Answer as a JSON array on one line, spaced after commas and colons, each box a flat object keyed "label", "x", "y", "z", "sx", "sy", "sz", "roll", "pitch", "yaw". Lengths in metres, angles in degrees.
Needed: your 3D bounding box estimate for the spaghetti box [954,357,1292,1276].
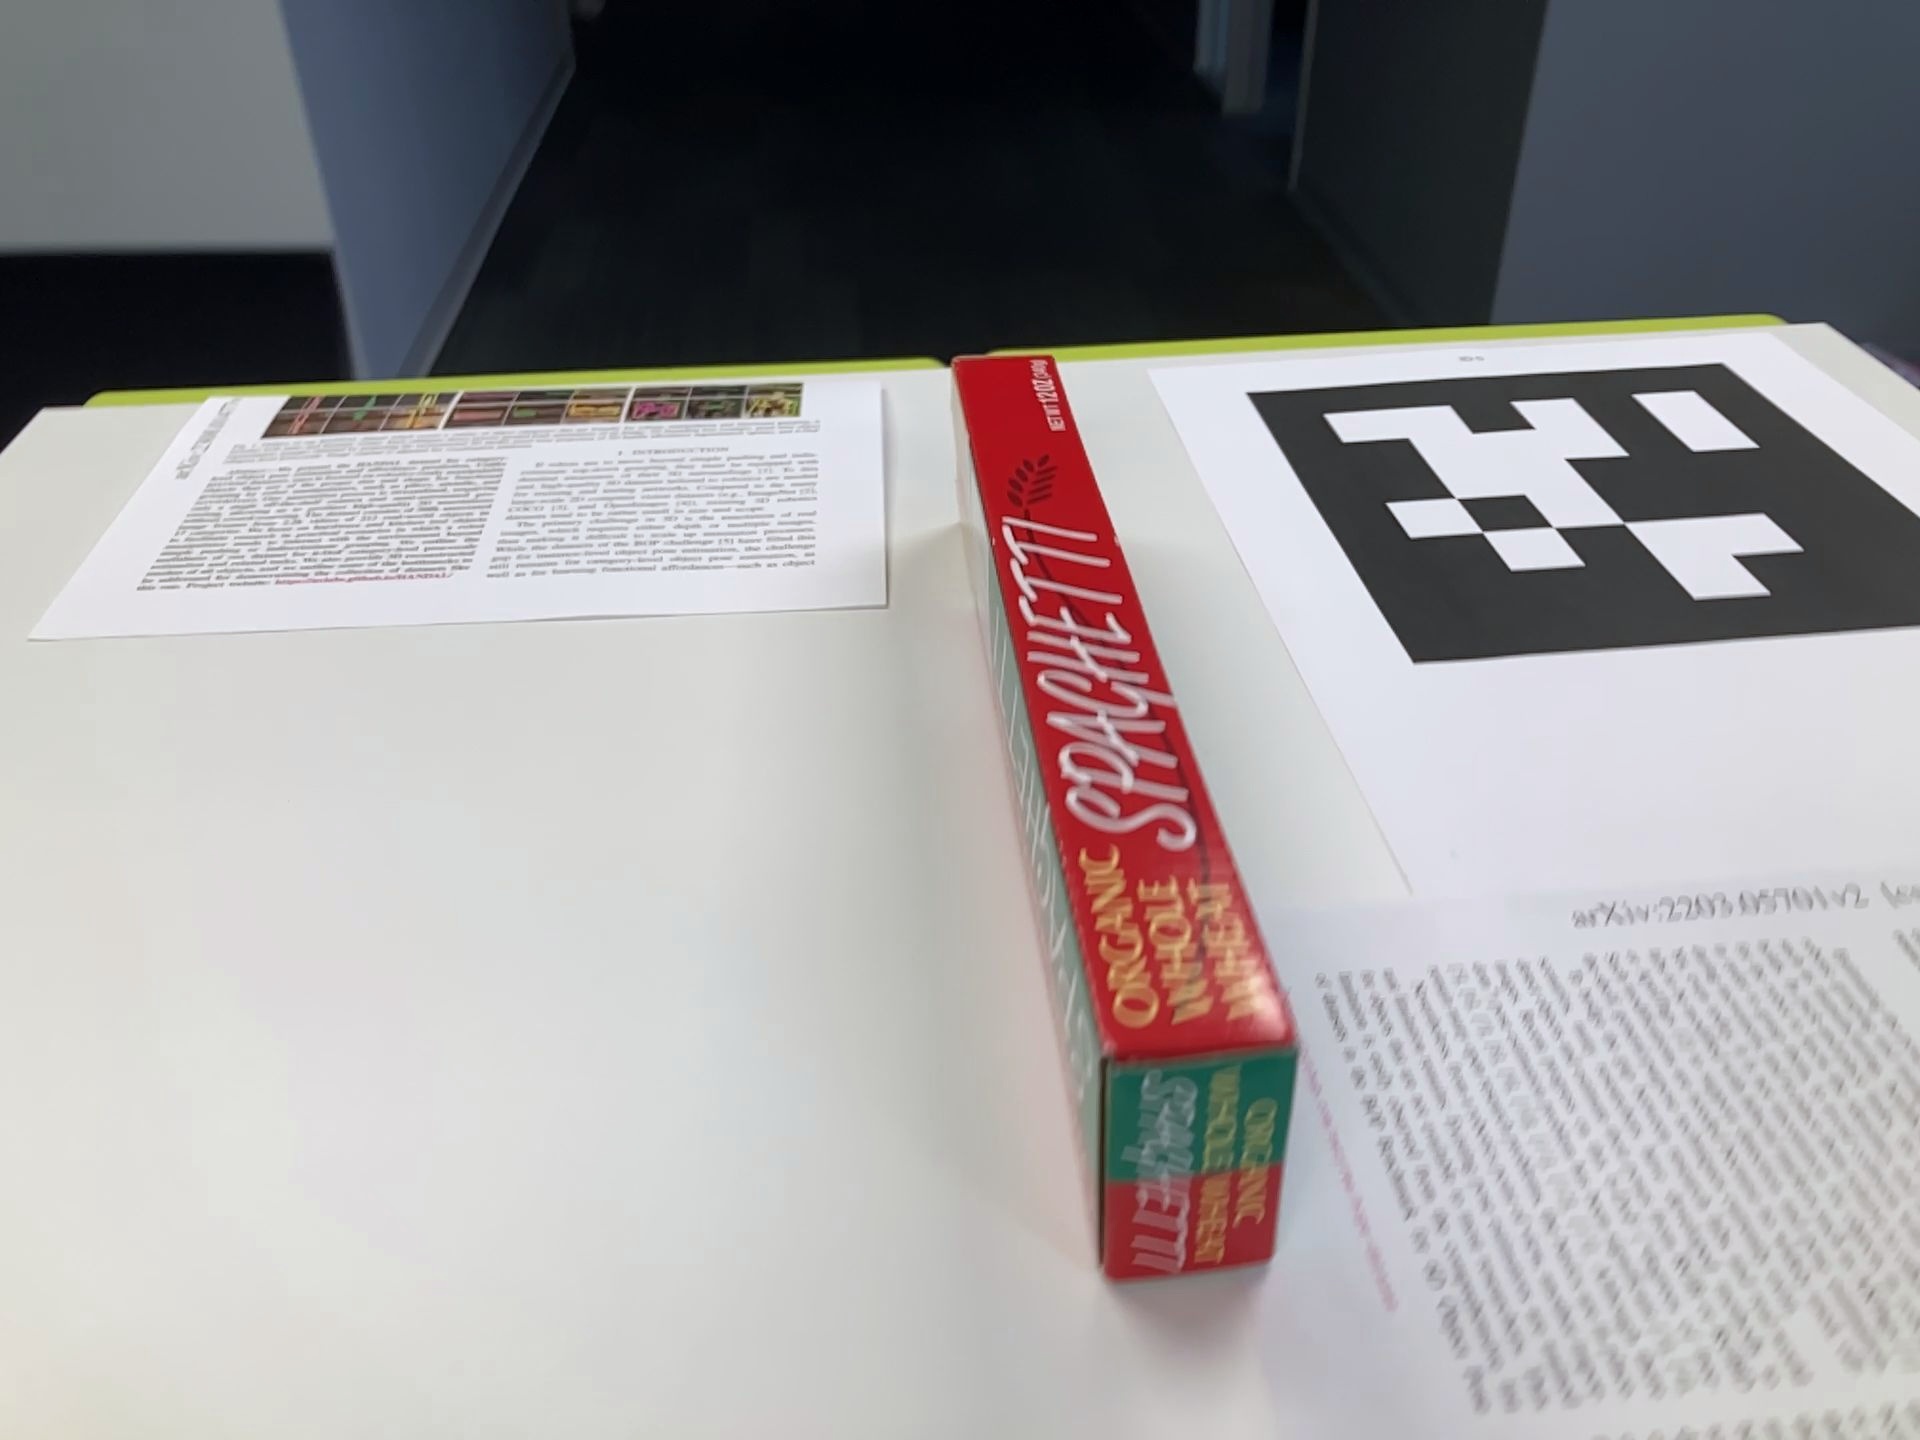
[{"label": "spaghetti box", "x": 0.023, "y": -0.005, "z": 0.332, "sx": 0.028, "sy": 0.050, "sz": 0.250, "roll": -5, "pitch": 35, "yaw": -2}]
